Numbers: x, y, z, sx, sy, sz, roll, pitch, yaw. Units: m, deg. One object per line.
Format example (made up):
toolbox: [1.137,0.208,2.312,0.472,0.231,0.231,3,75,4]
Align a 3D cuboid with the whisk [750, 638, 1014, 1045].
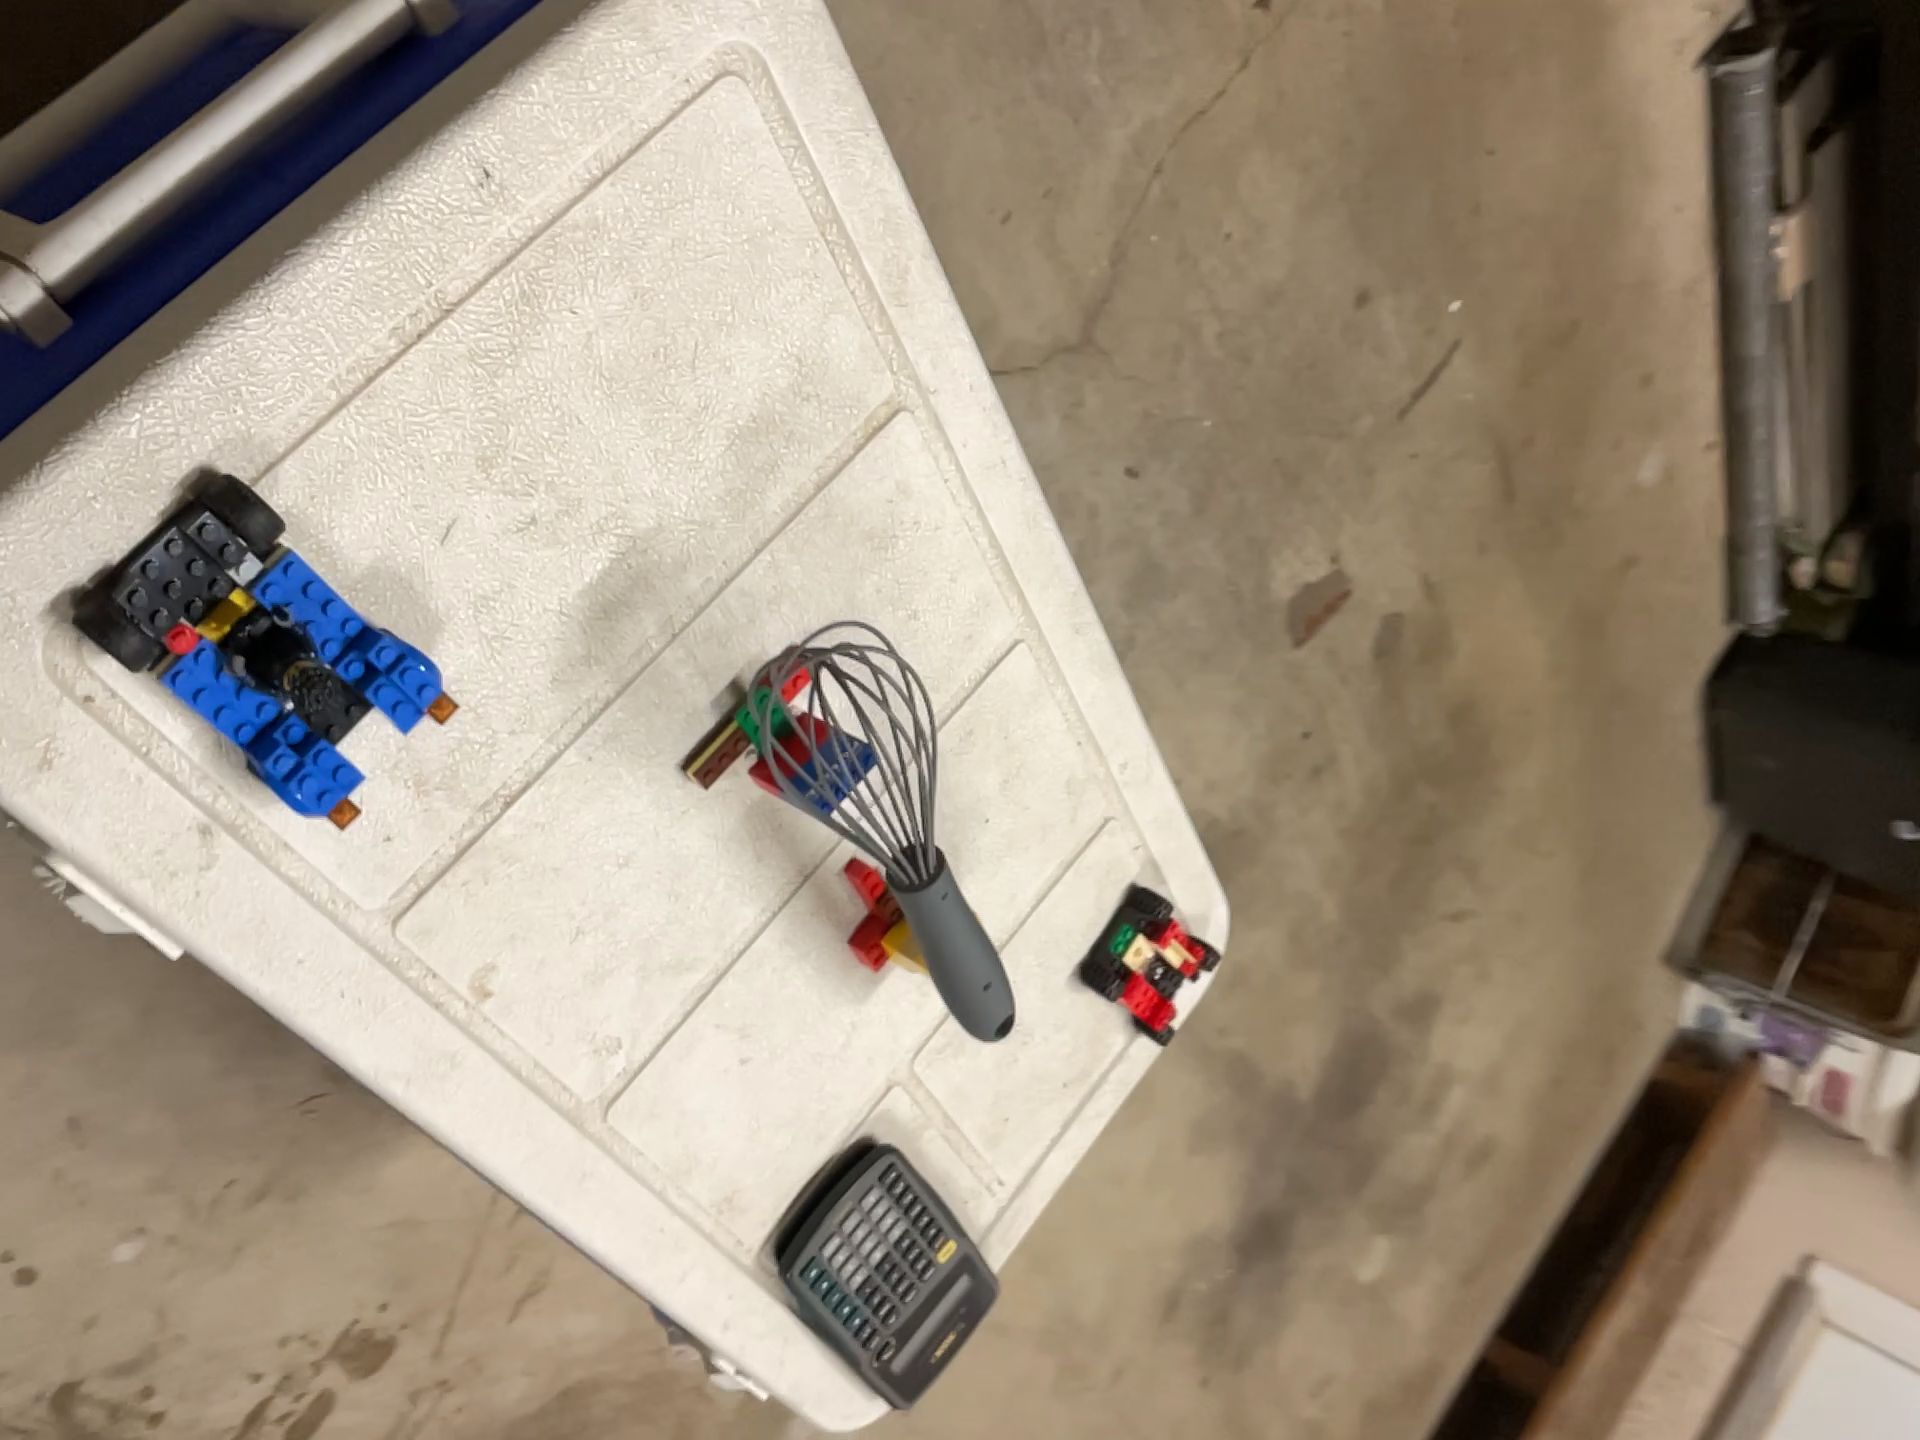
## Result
whisk: [-0.018,0.054,0.574,0.055,0.055,0.239,-44,140,-20]
